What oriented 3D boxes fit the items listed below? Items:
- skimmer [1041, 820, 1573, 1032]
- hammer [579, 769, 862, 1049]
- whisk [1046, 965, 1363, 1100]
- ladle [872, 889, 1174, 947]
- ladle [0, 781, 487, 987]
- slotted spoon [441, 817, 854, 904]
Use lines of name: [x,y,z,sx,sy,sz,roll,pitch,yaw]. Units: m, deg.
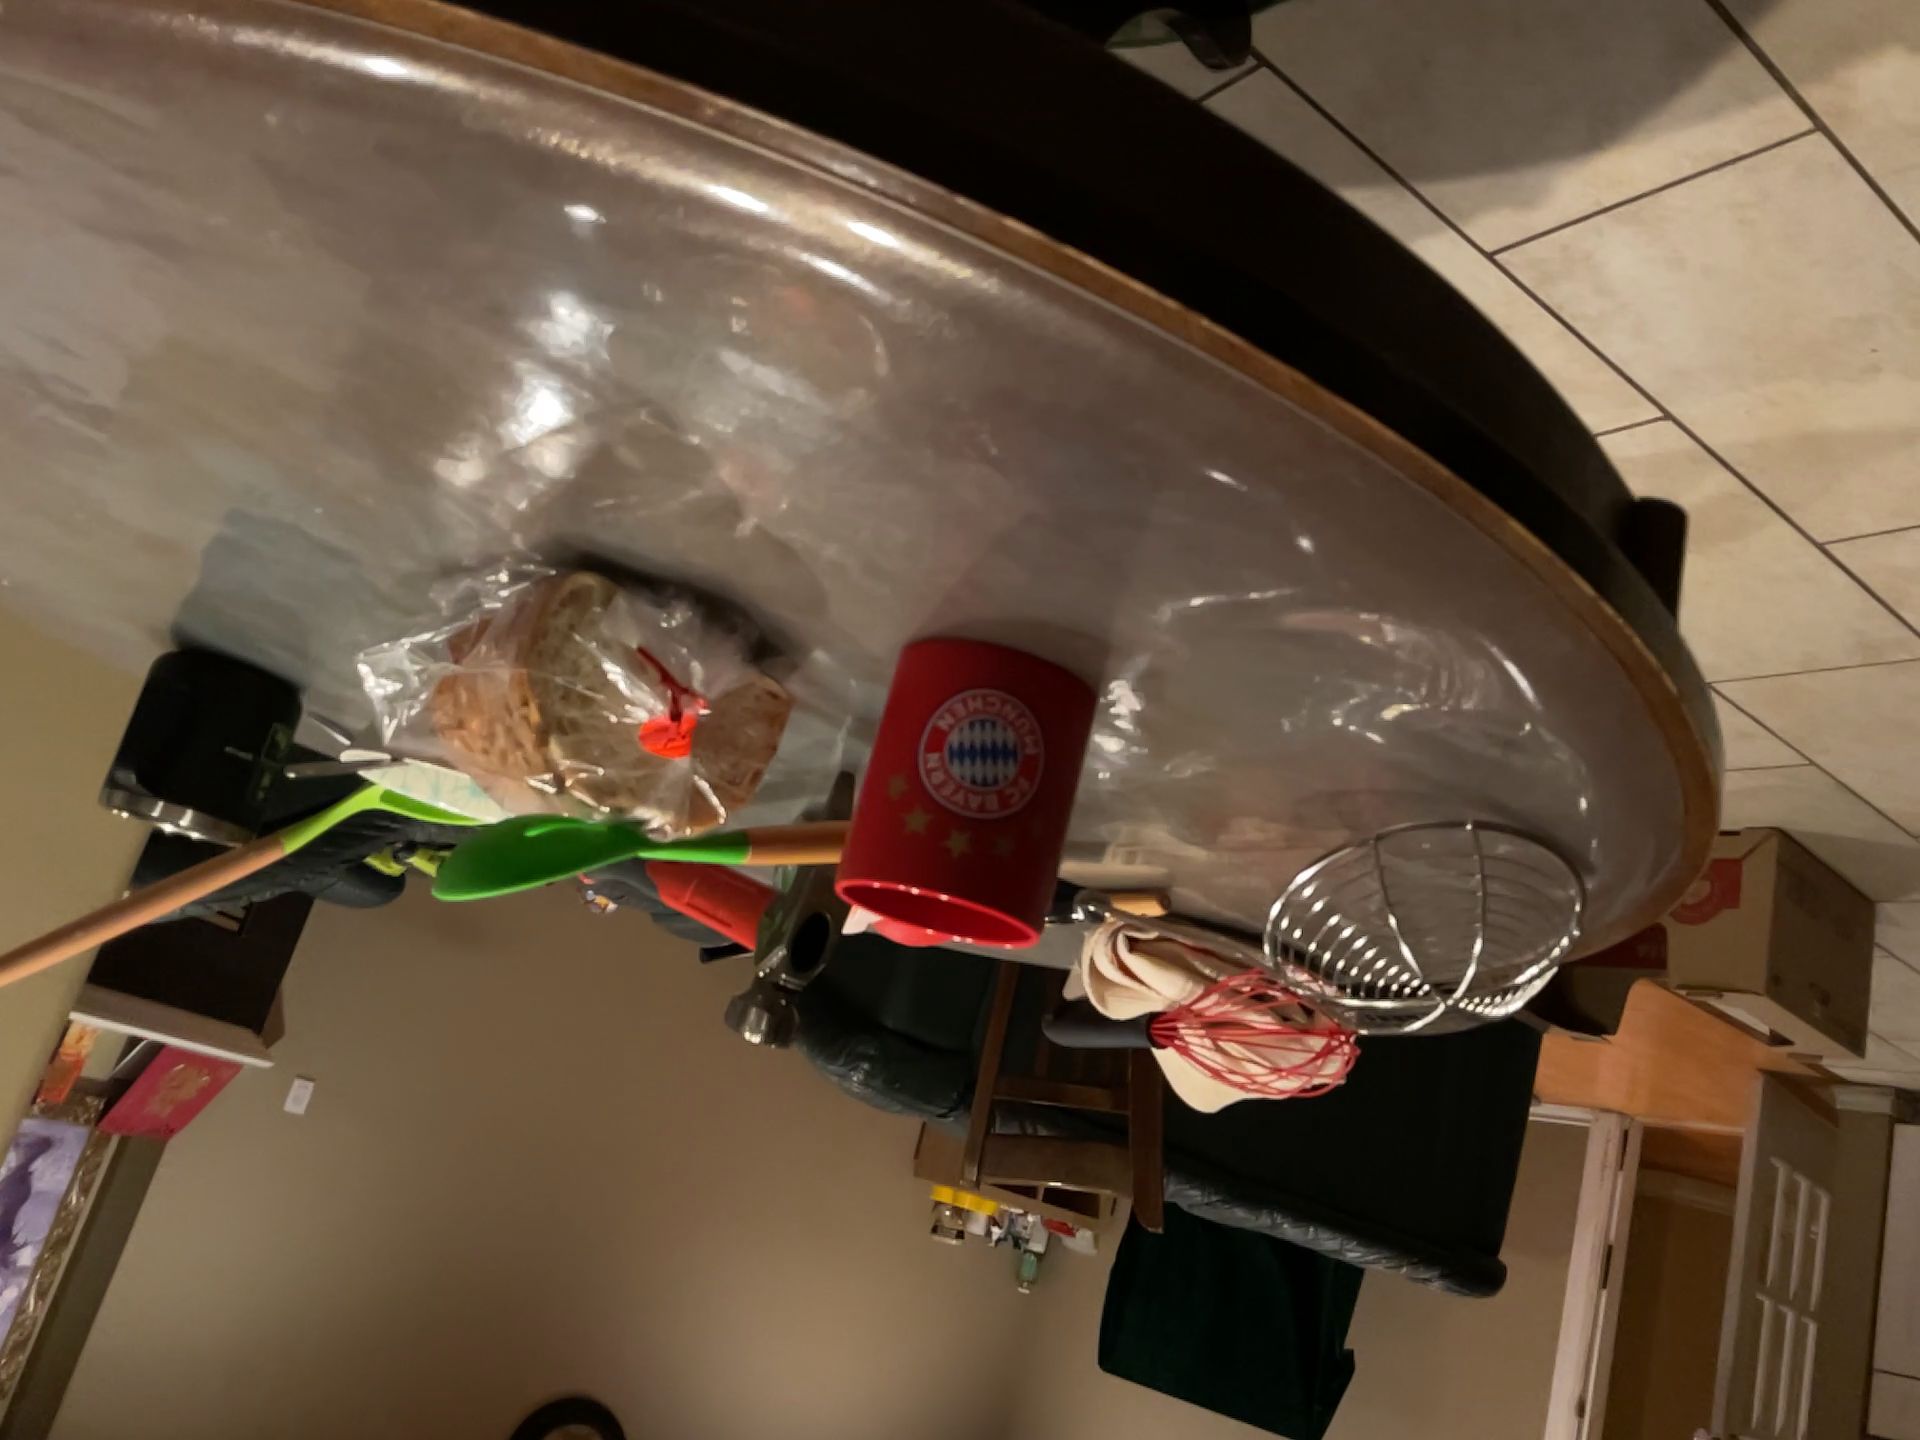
skimmer: [0.116,0.075,0.770,0.127,0.090,0.364,37,165,-32]
hammer: [-0.160,0.082,0.960,0.038,0.143,0.387,26,172,-28]
whisk: [0.131,0.181,0.926,0.073,0.073,0.296,22,162,-23]
ladle: [0.029,0.123,1.003,0.069,0.031,0.315,24,159,-28]
ladle: [-0.426,0.096,0.946,0.062,0.320,0.078,57,153,11]
slotted spoon: [-0.076,0.055,0.706,0.313,0.031,0.070,1,-179,-41]
